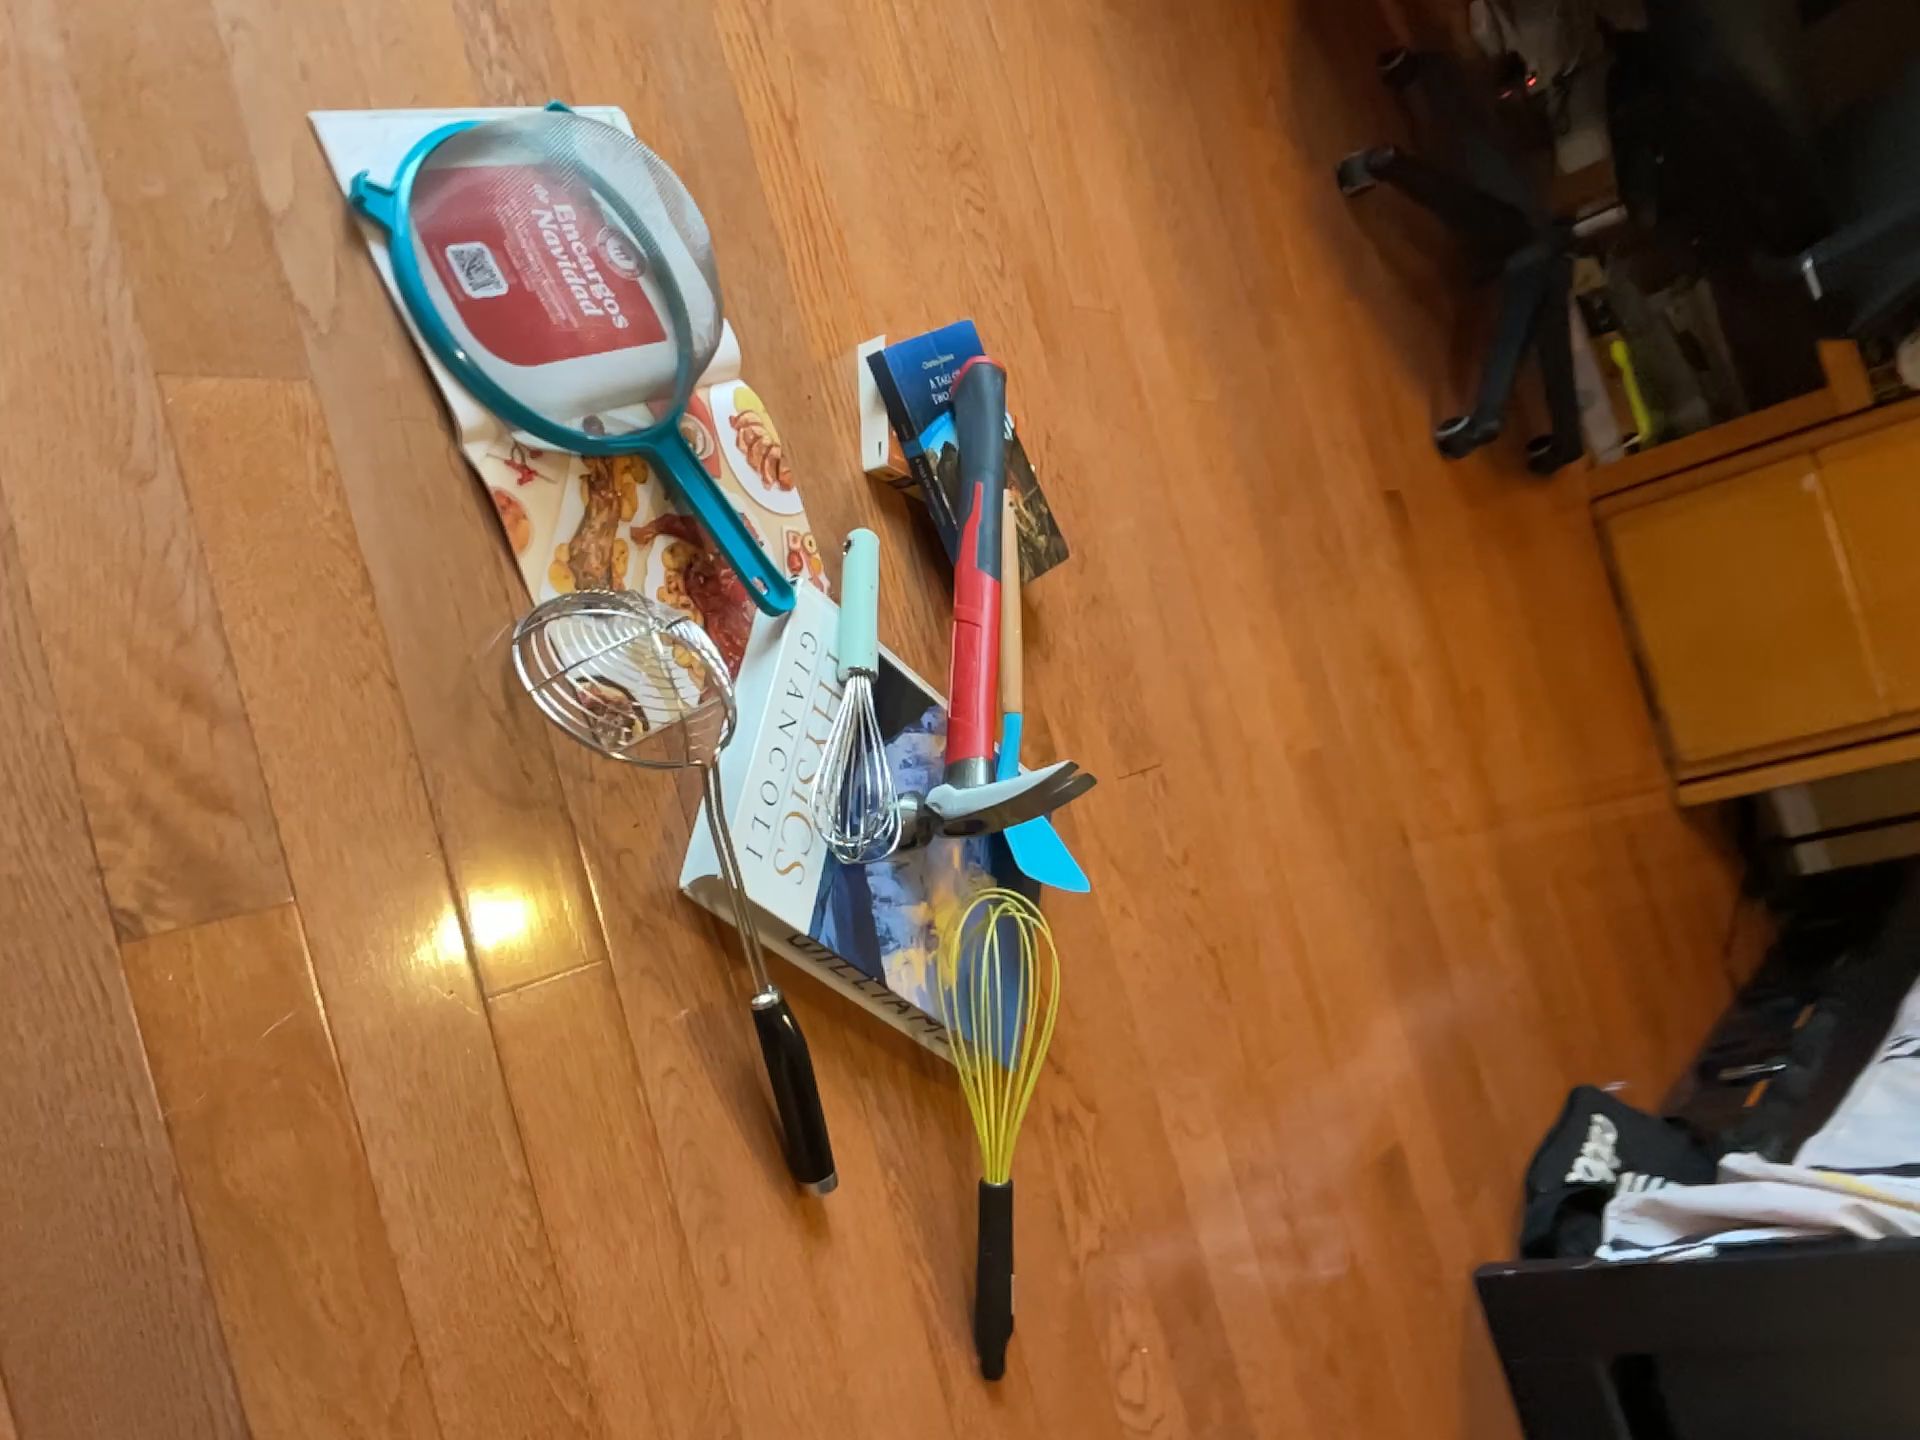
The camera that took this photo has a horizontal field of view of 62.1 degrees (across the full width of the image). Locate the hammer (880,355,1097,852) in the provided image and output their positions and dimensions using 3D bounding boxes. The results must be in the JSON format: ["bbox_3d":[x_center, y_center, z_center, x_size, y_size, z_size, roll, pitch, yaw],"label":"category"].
[{"bbox_3d":[0.024,-0.101,1.076,0.038,0.143,0.387,38,45,-43],"label":"hammer"}]

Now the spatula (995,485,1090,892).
[{"bbox_3d":[0.045,-0.031,1.140,0.082,0.044,0.318,22,58,-45],"label":"spatula"}]

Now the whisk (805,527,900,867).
[{"bbox_3d":[-0.064,-0.020,0.996,0.059,0.057,0.247,11,57,-17],"label":"whisk"}]

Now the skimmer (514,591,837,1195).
[{"bbox_3d":[-0.149,0.101,0.900,0.127,0.090,0.363,-34,113,-56],"label":"skimmer"}]

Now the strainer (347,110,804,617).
[{"bbox_3d":[-0.175,-0.214,0.931,0.340,0.095,0.211,54,38,-12],"label":"strainer"}]

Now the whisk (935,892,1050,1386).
[{"bbox_3d":[0.023,0.264,1.005,0.080,0.067,0.312,-2,92,-69],"label":"whisk"}]
